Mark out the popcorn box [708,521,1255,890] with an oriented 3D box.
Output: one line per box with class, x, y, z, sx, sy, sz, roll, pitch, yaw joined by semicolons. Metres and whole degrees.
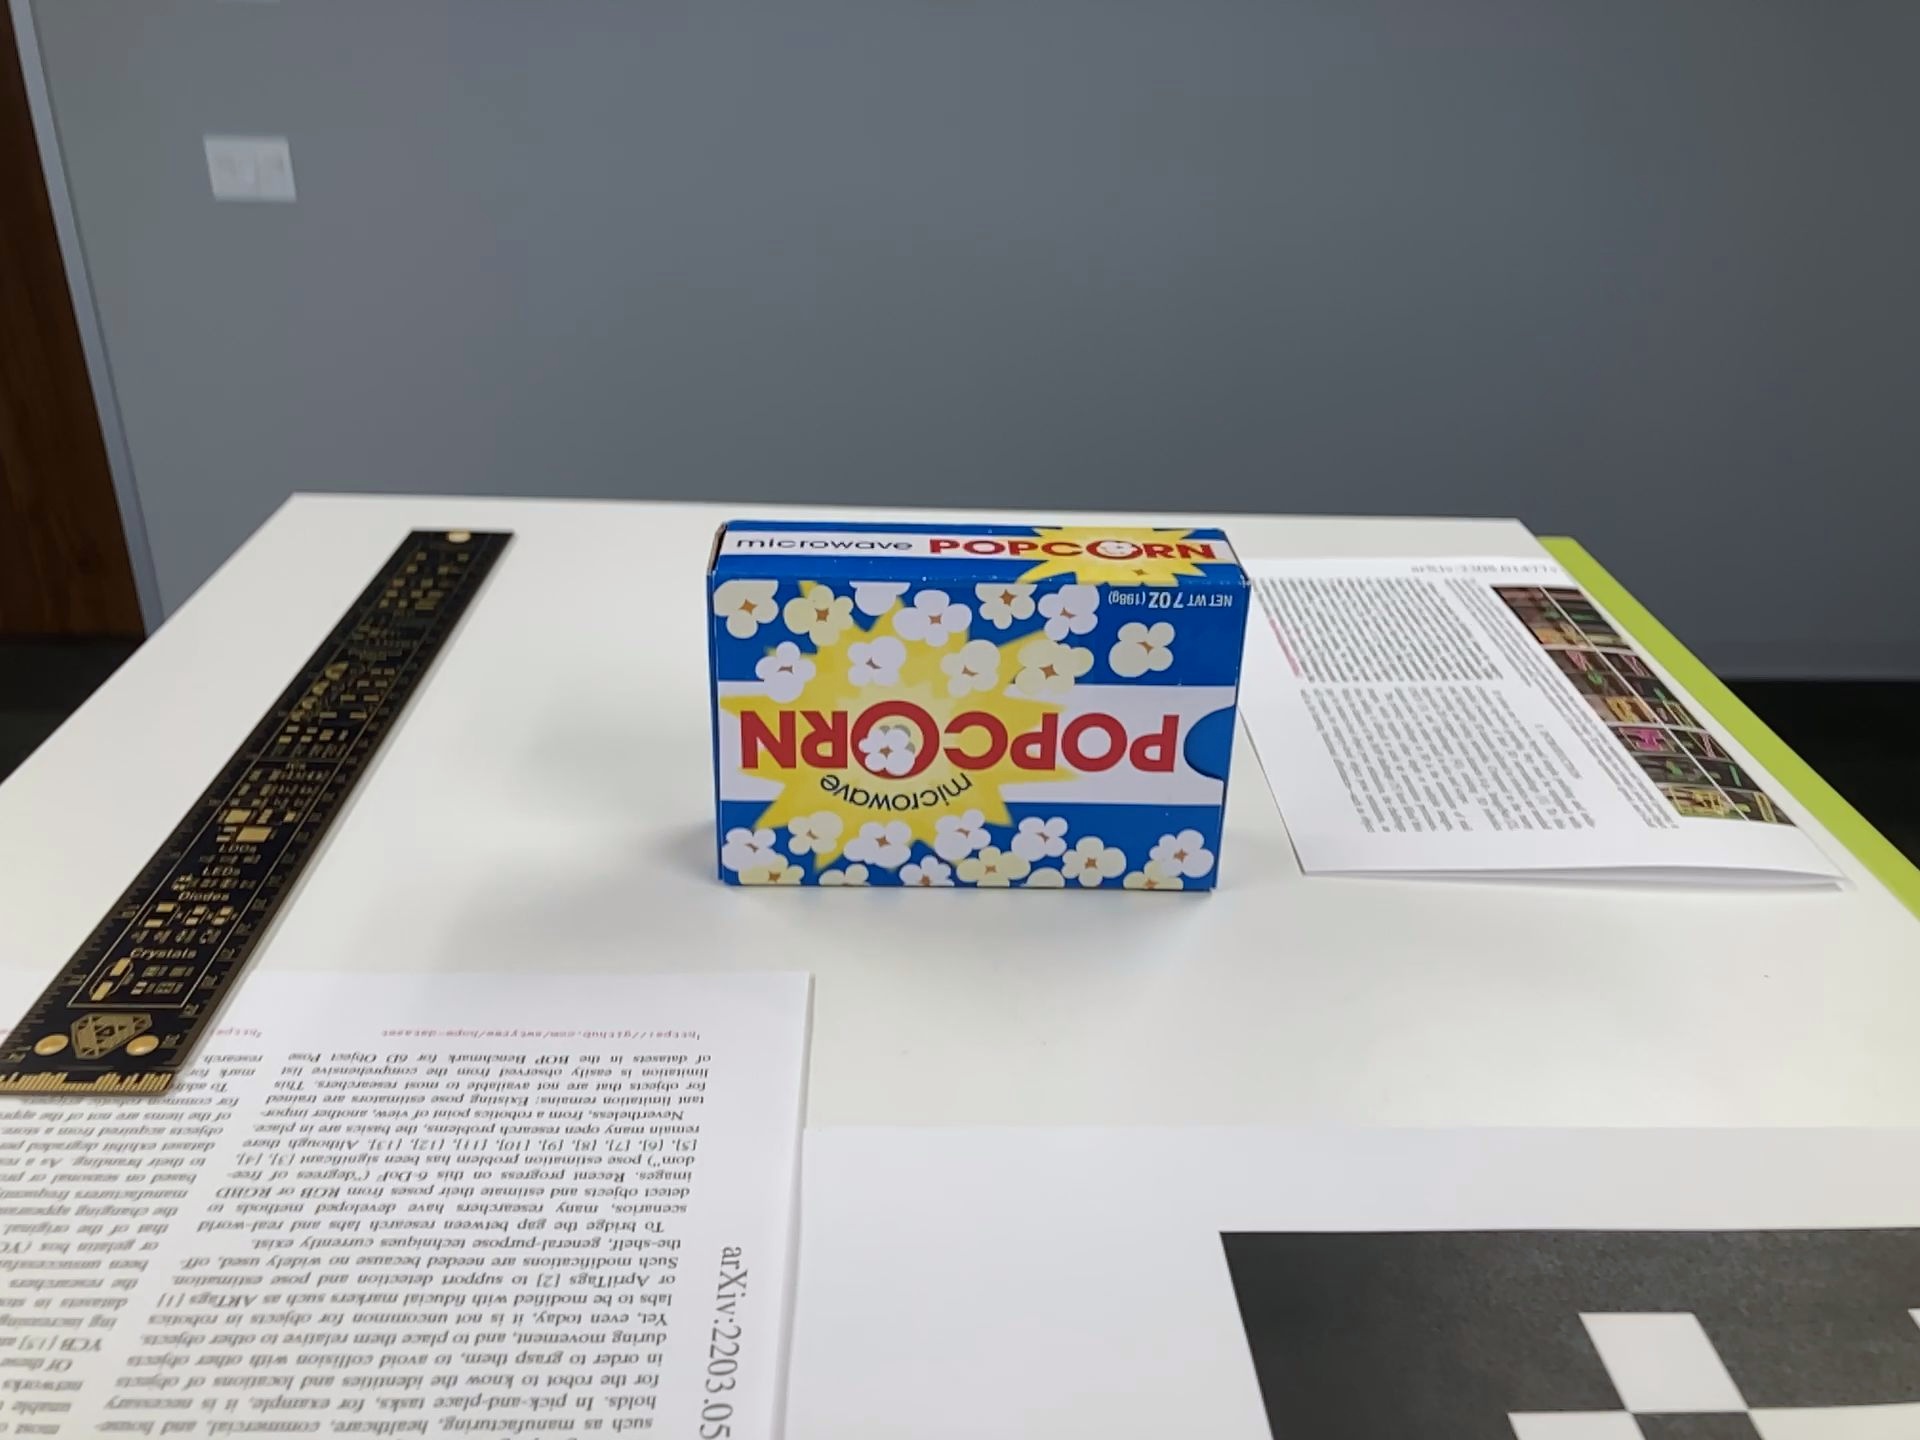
popcorn box;0.003;-0.003;0.393;0.126;0.085;0.038;1;26;-2
